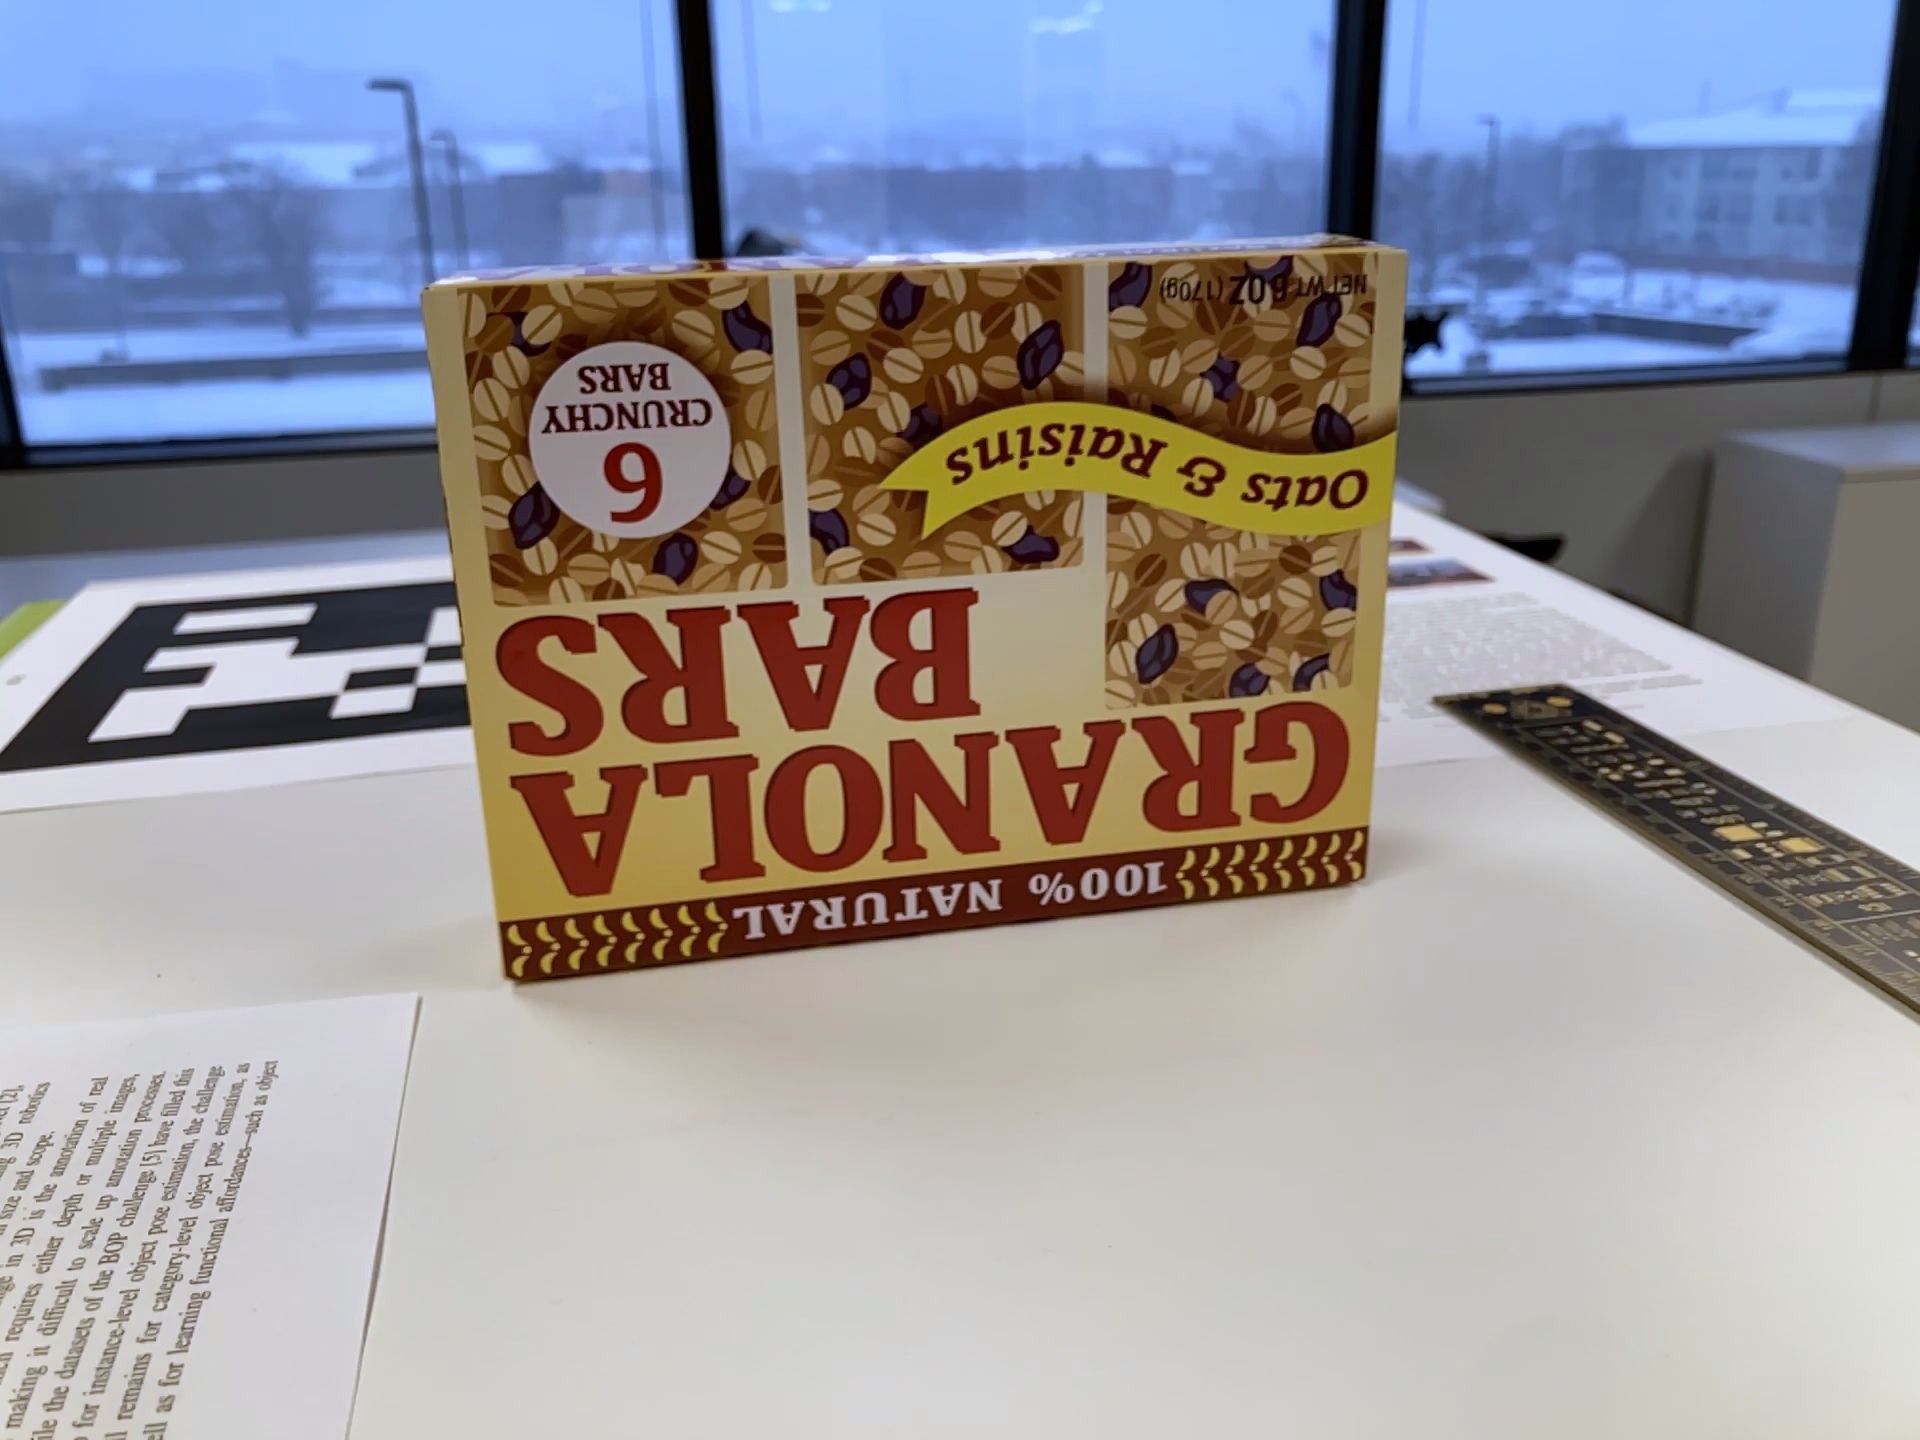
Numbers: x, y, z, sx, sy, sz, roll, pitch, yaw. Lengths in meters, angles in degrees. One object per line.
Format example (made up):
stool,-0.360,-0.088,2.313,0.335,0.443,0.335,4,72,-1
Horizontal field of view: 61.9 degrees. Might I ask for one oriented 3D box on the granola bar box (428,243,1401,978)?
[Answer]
granola bar box,-0.006,-0.023,0.302,0.165,0.124,0.039,-5,18,-11
